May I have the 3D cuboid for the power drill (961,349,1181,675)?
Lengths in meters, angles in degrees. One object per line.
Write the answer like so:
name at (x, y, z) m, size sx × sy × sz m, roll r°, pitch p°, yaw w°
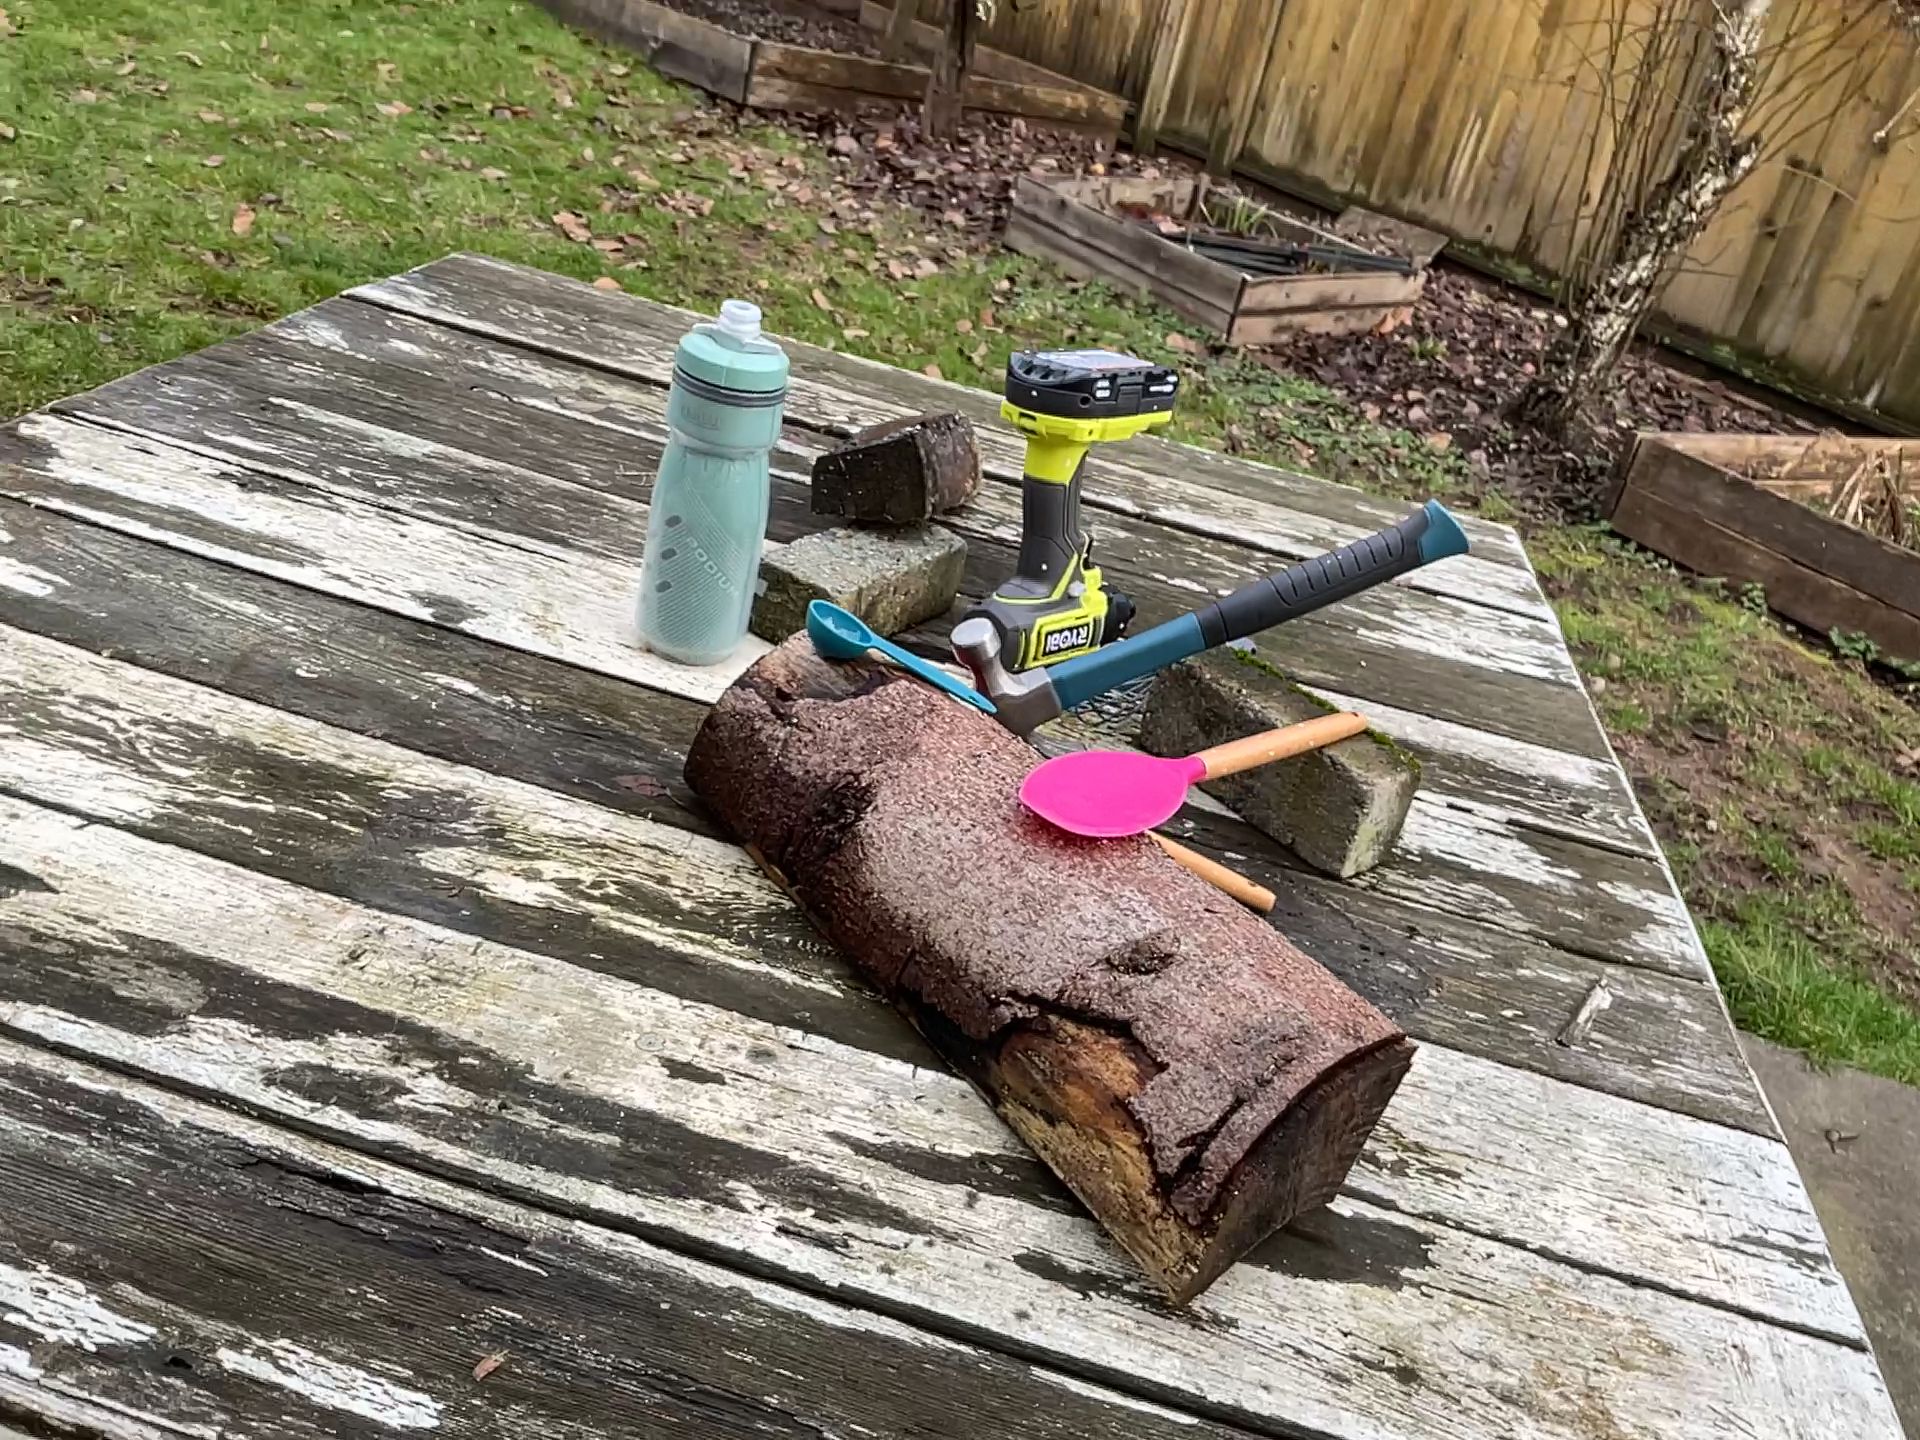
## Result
power drill at (0.085, -0.149, 1.153) m, size 0.080 × 0.223 × 0.171 m, roll 25°, pitch 27°, yaw 36°

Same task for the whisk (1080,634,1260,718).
whisk at (0.156, -0.043, 1.166) m, size 0.055 × 0.055 × 0.238 m, roll 40°, pitch 33°, yaw 27°

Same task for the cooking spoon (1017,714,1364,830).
cooking spoon at (0.145, 0.024, 0.895) m, size 0.069 × 0.017 × 0.318 m, roll 33°, pitch 29°, yaw 34°

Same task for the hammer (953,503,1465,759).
hammer at (0.167, -0.063, 1.029) m, size 0.331 × 0.128 × 0.033 m, roll -22°, pitch 35°, yaw 0°

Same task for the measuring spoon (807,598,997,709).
measuring spoon at (-0.035, -0.030, 0.918) m, size 0.128 × 0.021 × 0.042 m, roll 28°, pitch 21°, yaw -22°

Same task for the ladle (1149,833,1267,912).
ladle at (0.044, 0.042, 0.988) m, size 0.316 × 0.031 × 0.069 m, roll 26°, pitch 27°, yaw 17°
